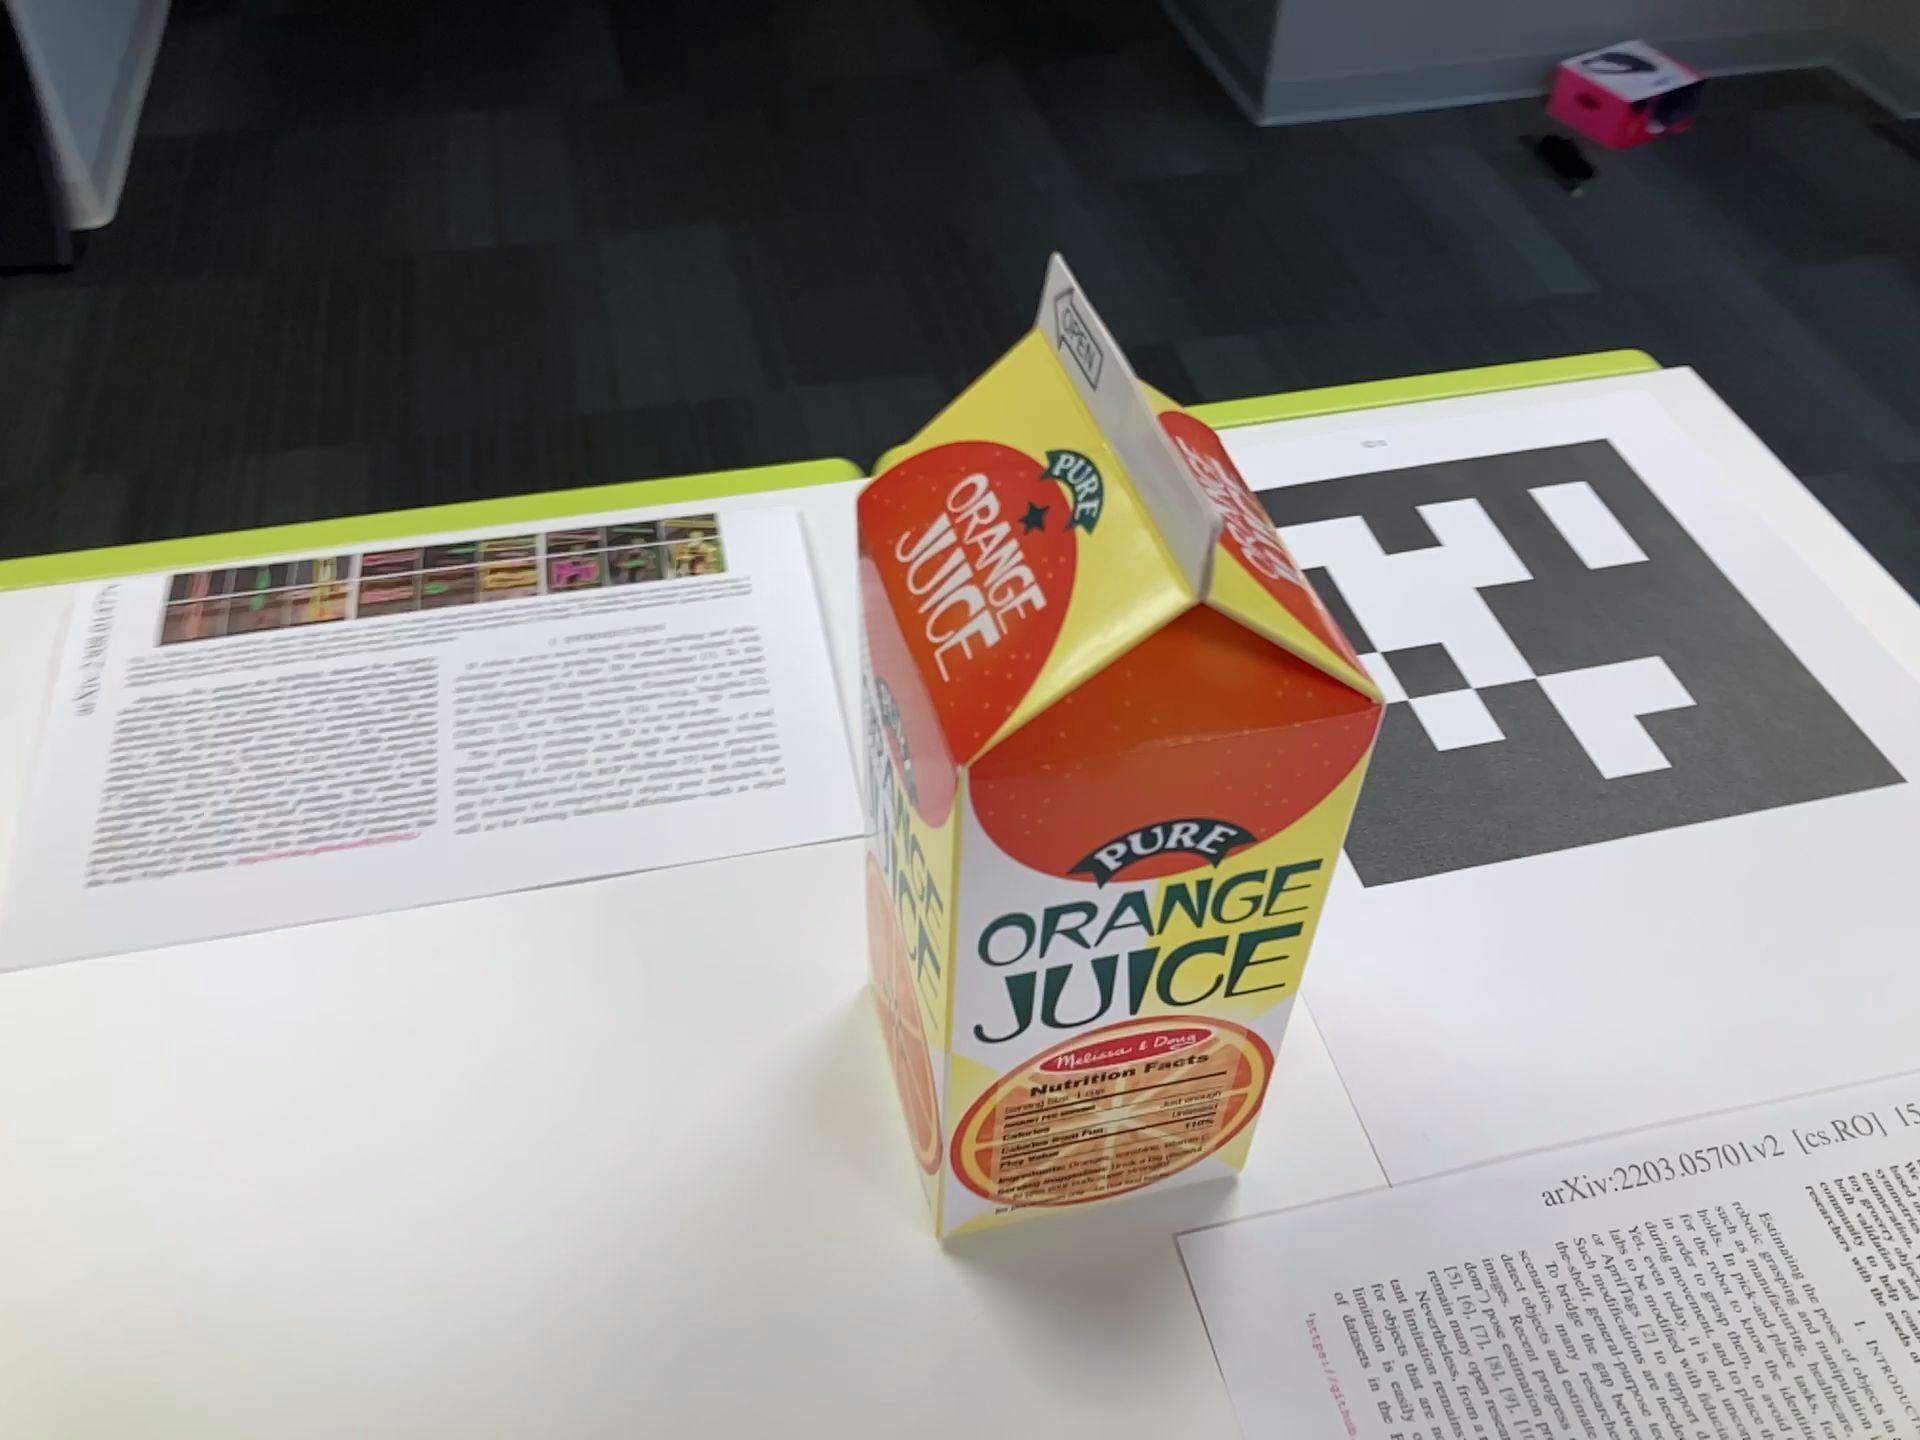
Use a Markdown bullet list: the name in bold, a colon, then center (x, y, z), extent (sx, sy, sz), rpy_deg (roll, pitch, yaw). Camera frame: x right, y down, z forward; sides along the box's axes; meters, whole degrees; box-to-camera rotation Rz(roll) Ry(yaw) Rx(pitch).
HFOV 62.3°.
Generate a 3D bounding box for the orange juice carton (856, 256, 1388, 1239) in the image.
- **orange juice carton**: center (0.023, 0.016, 0.303), extent (0.073, 0.192, 0.072), rpy_deg (-9, 46, -11)
